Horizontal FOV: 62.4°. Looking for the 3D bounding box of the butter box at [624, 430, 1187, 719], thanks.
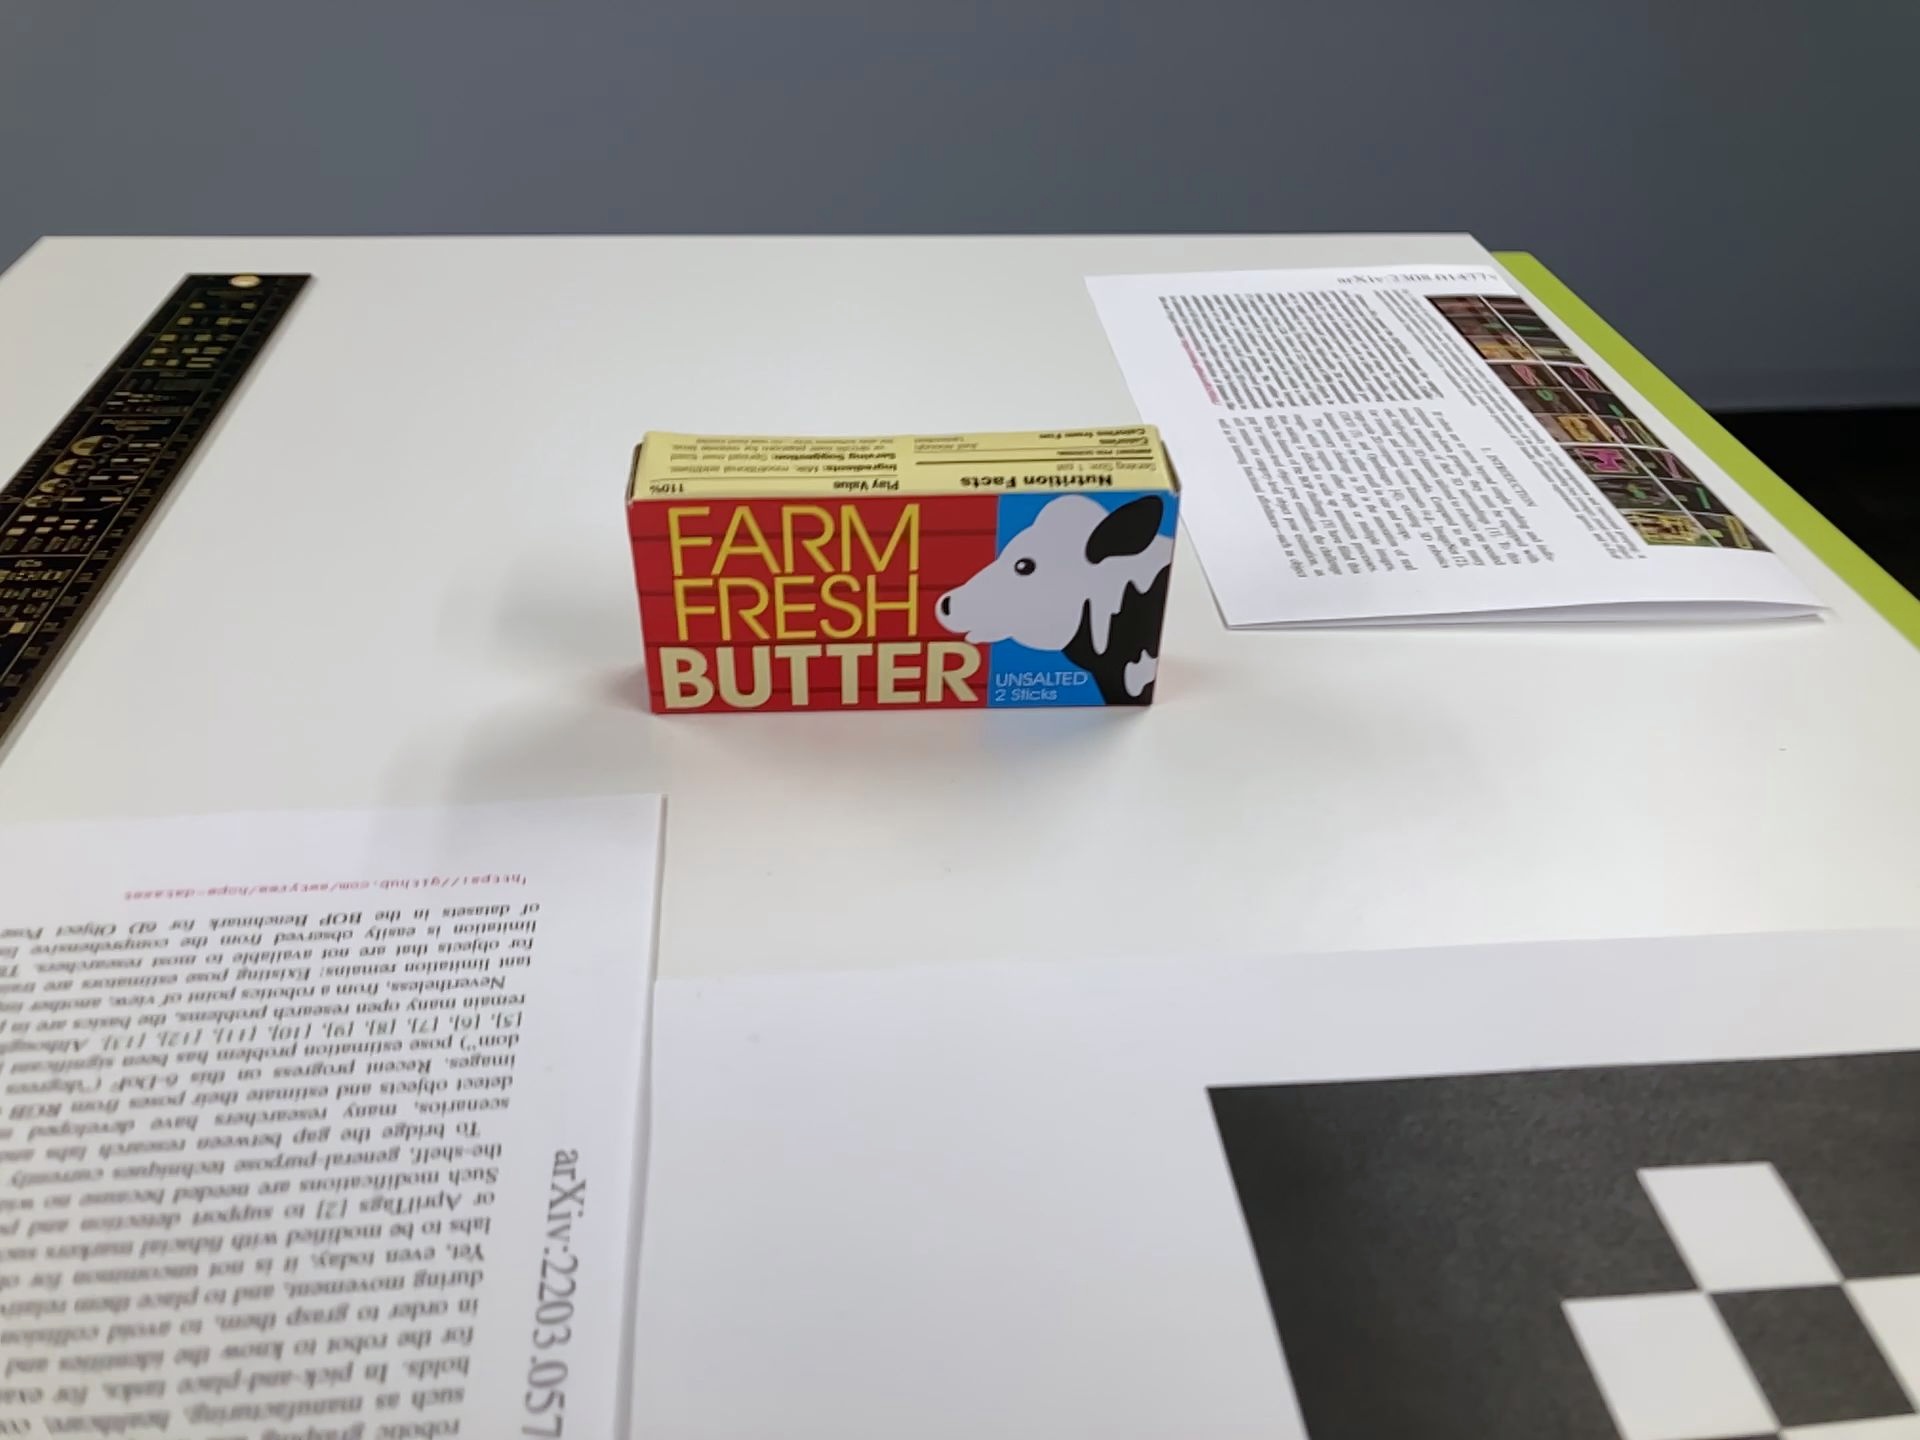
[{"bbox_3d":[-0.011,-0.028,0.310,0.103,0.053,0.024,-2,39,-5],"label":"butter box"}]
